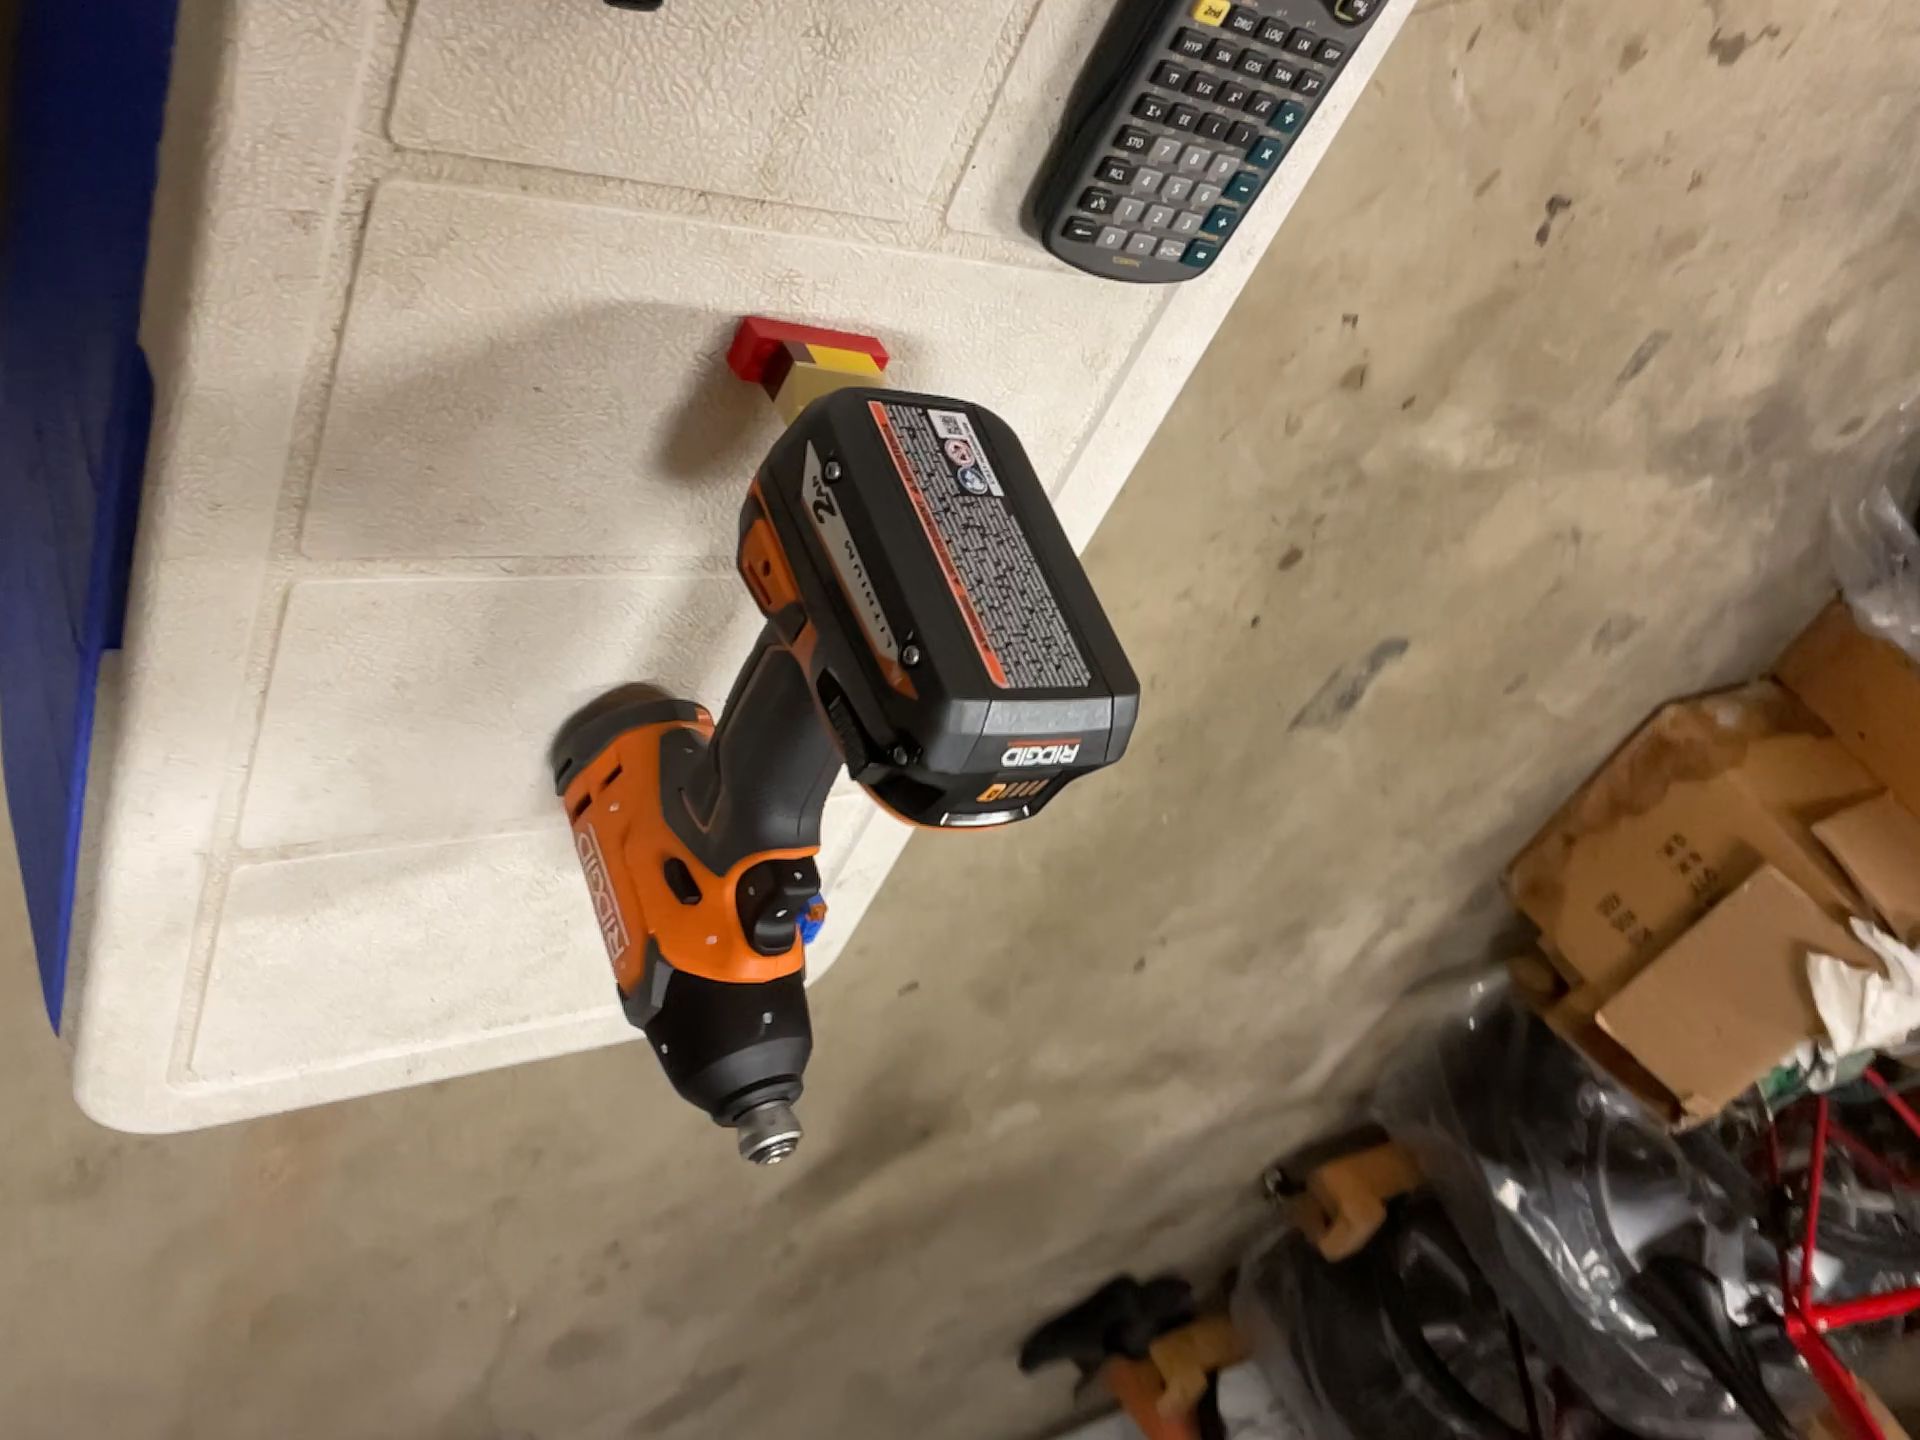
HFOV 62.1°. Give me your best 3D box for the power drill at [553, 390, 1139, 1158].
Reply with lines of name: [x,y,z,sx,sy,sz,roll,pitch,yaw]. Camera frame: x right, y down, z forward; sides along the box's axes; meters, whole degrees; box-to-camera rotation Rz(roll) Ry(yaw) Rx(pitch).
power drill: [-0.047,0.027,0.498,0.084,0.164,0.226,-3,149,-40]
